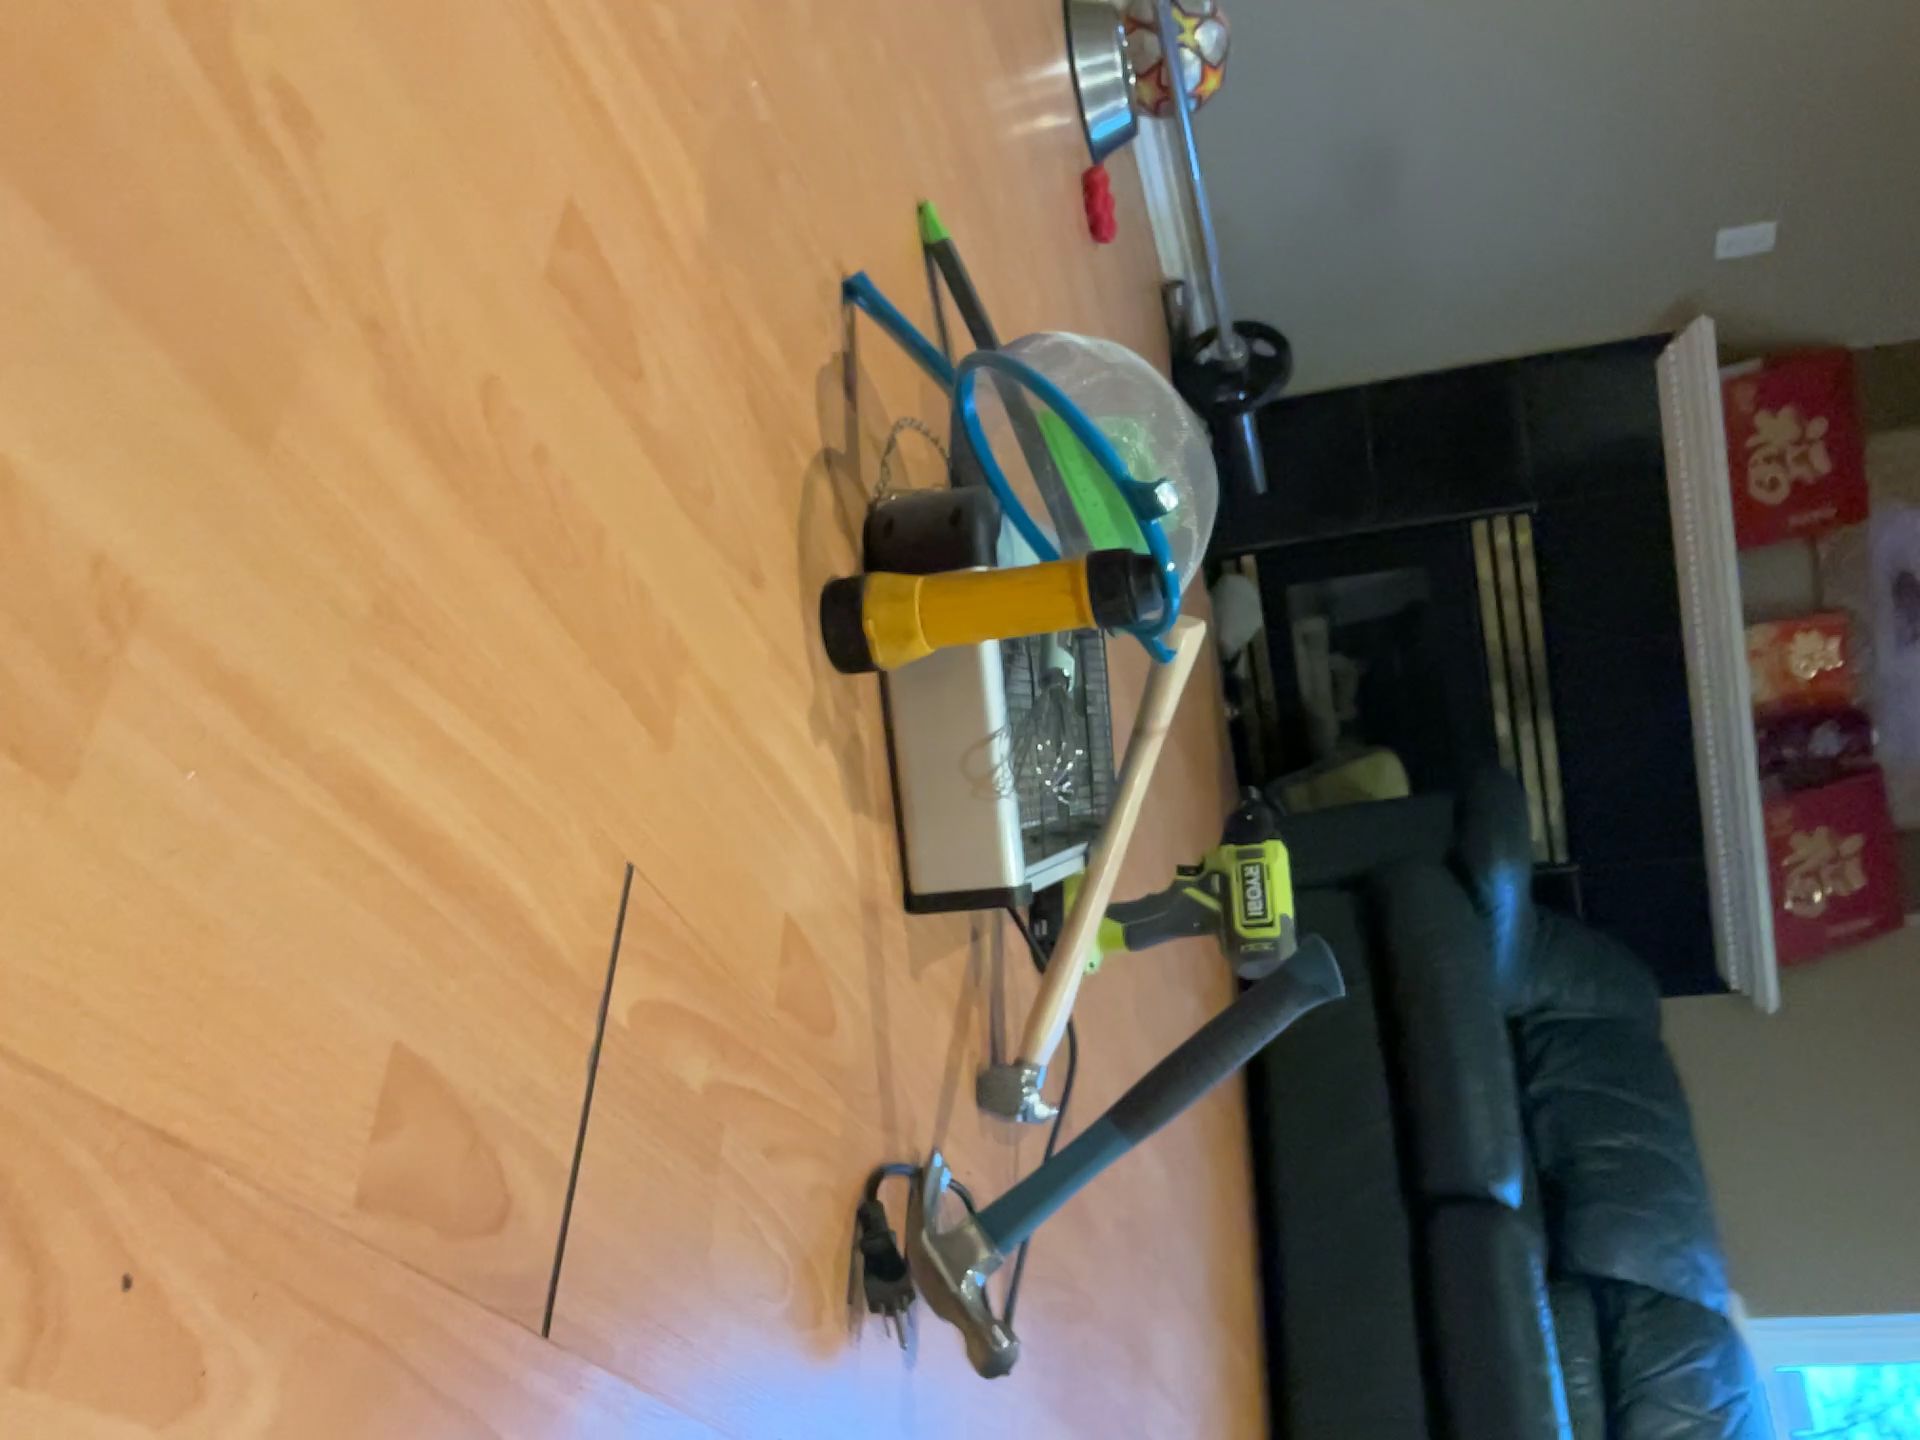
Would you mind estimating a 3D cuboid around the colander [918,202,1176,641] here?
[{"bbox_3d":[0.084,-0.263,1.342,0.397,0.094,0.204,65,9,-3],"label":"colander"}]

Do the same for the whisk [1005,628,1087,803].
[{"bbox_3d":[0.064,-0.022,1.103,0.058,0.059,0.246,43,27,-20],"label":"whisk"}]

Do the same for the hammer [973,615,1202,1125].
[{"bbox_3d":[0.111,0.113,1.247,0.410,0.038,0.146,-70,159,-9],"label":"hammer"}]

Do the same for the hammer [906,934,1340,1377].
[{"bbox_3d":[0.108,0.247,0.989,0.128,0.331,0.033,42,-18,42],"label":"hammer"}]

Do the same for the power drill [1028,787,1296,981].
[{"bbox_3d":[0.176,0.148,1.409,0.080,0.223,0.171,61,26,-56],"label":"power drill"}]

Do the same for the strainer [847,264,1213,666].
[{"bbox_3d":[0.055,-0.205,1.031,0.340,0.095,0.210,50,-12,25],"label":"strainer"}]
